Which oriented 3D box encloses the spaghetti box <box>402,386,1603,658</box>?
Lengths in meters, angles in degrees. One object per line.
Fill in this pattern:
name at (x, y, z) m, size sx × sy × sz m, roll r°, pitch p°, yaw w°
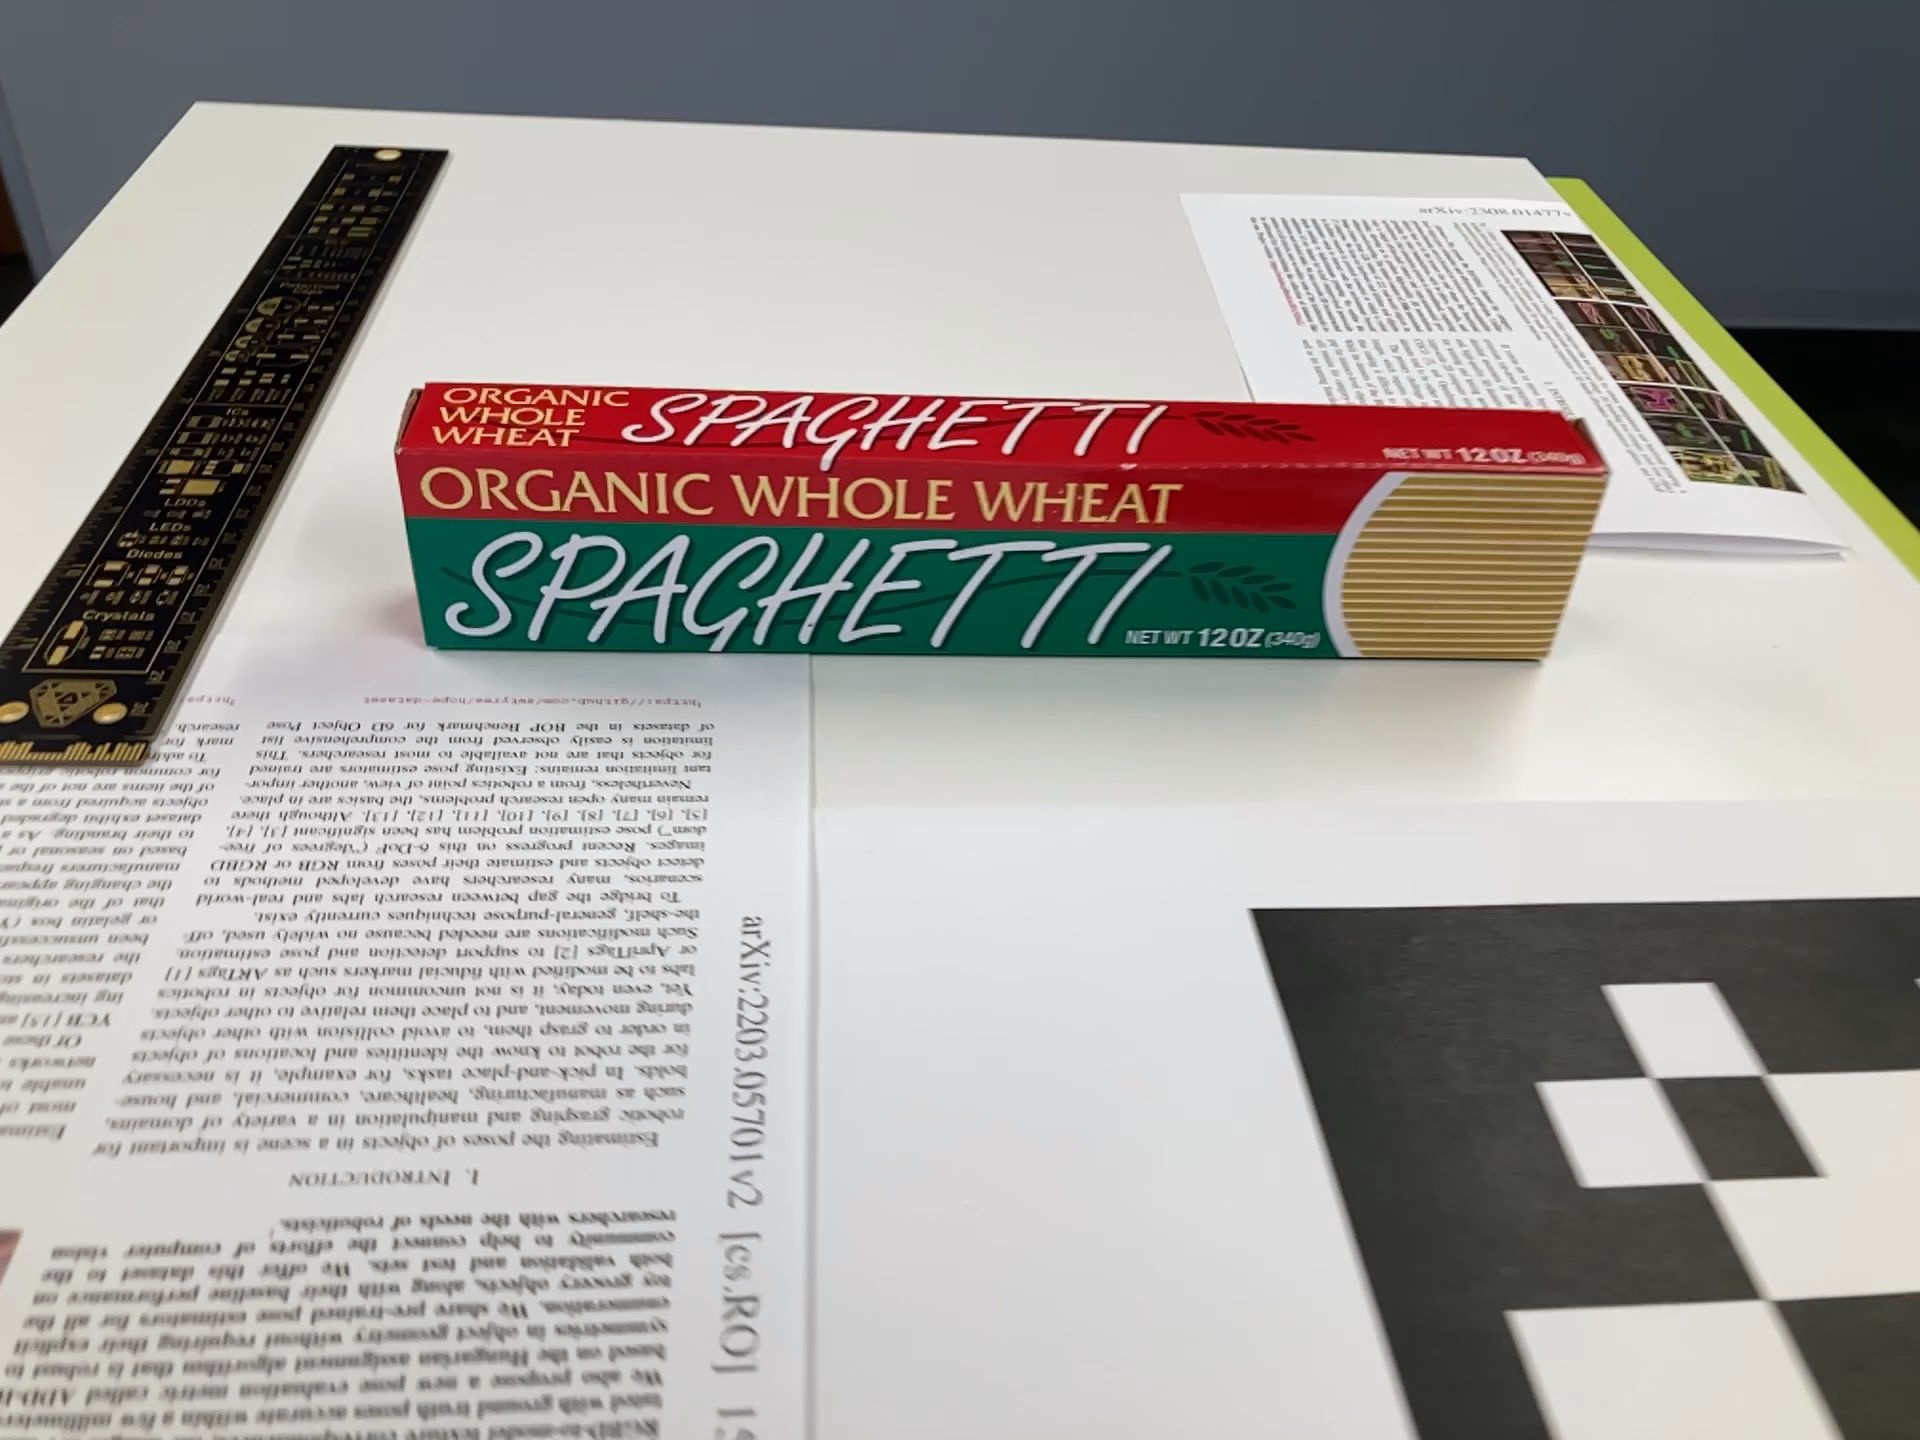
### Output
spaghetti box at (0.009, -0.041, 0.344) m, size 0.250 × 0.050 × 0.028 m, roll 0°, pitch 37°, yaw -6°
